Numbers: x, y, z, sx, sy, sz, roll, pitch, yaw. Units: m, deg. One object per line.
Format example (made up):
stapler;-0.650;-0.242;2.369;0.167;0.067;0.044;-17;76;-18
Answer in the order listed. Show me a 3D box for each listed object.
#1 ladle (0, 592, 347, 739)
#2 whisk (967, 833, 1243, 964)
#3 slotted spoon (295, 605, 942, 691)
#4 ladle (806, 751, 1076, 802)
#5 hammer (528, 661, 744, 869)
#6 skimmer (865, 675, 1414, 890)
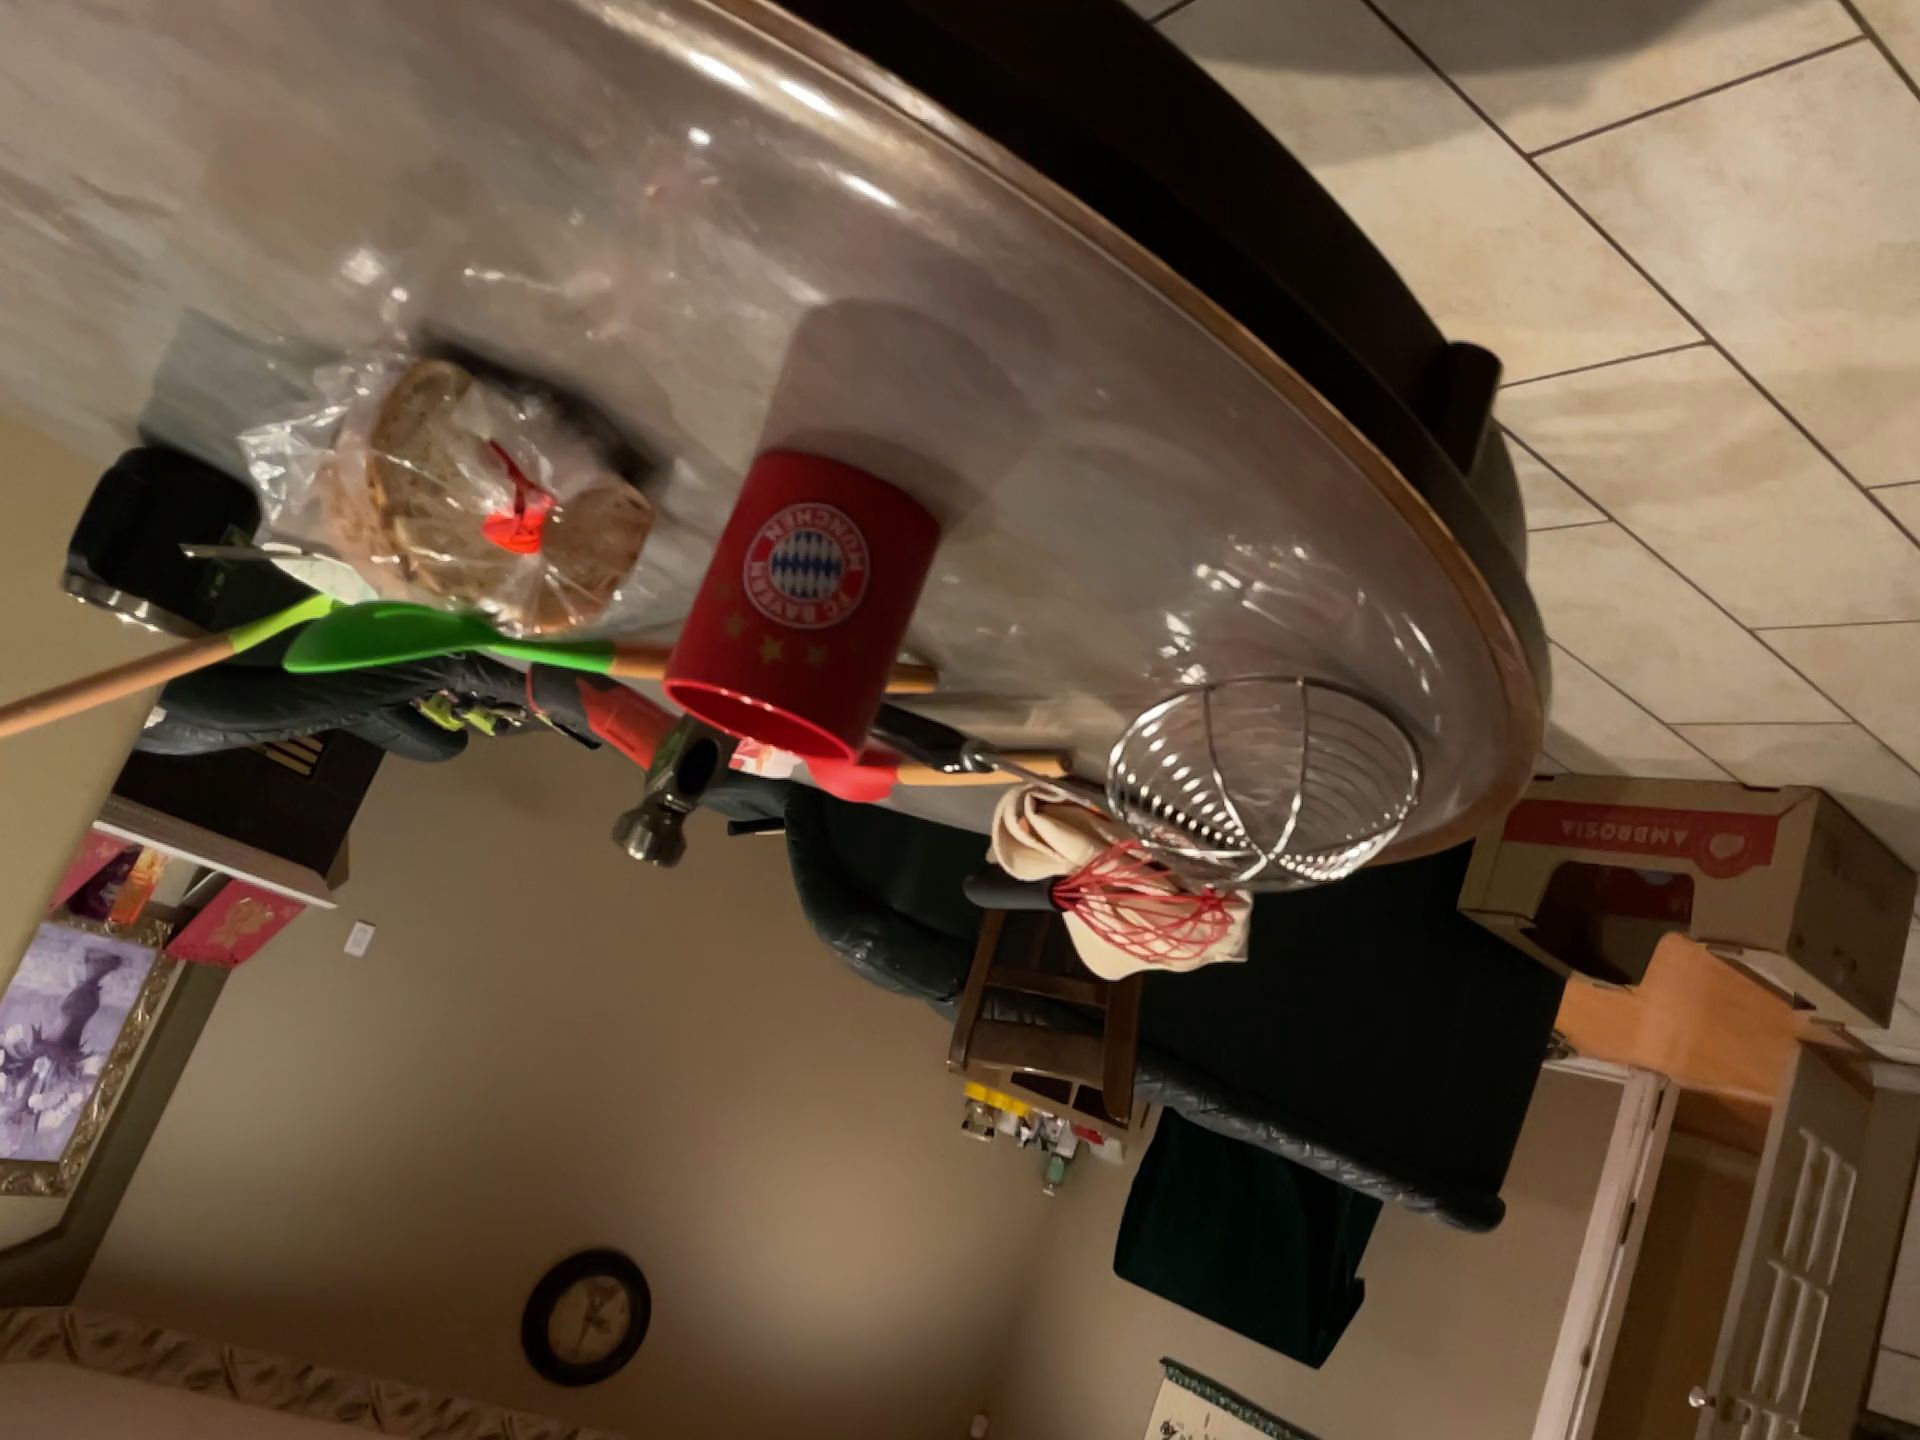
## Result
ladle;-0.473;-0.027;0.981;0.062;0.320;0.078;62;157;10
whisk;0.073;0.103;0.936;0.073;0.073;0.296;24;167;-21
slotted spoon;-0.136;-0.027;0.720;0.313;0.031;0.070;2;-175;-38
ladle;-0.019;0.033;1.015;0.069;0.031;0.316;27;163;-26
hammer;-0.206;-0.020;0.980;0.038;0.143;0.387;29;176;-26
skimmer;0.057;0.005;0.775;0.127;0.090;0.364;39;170;-31
